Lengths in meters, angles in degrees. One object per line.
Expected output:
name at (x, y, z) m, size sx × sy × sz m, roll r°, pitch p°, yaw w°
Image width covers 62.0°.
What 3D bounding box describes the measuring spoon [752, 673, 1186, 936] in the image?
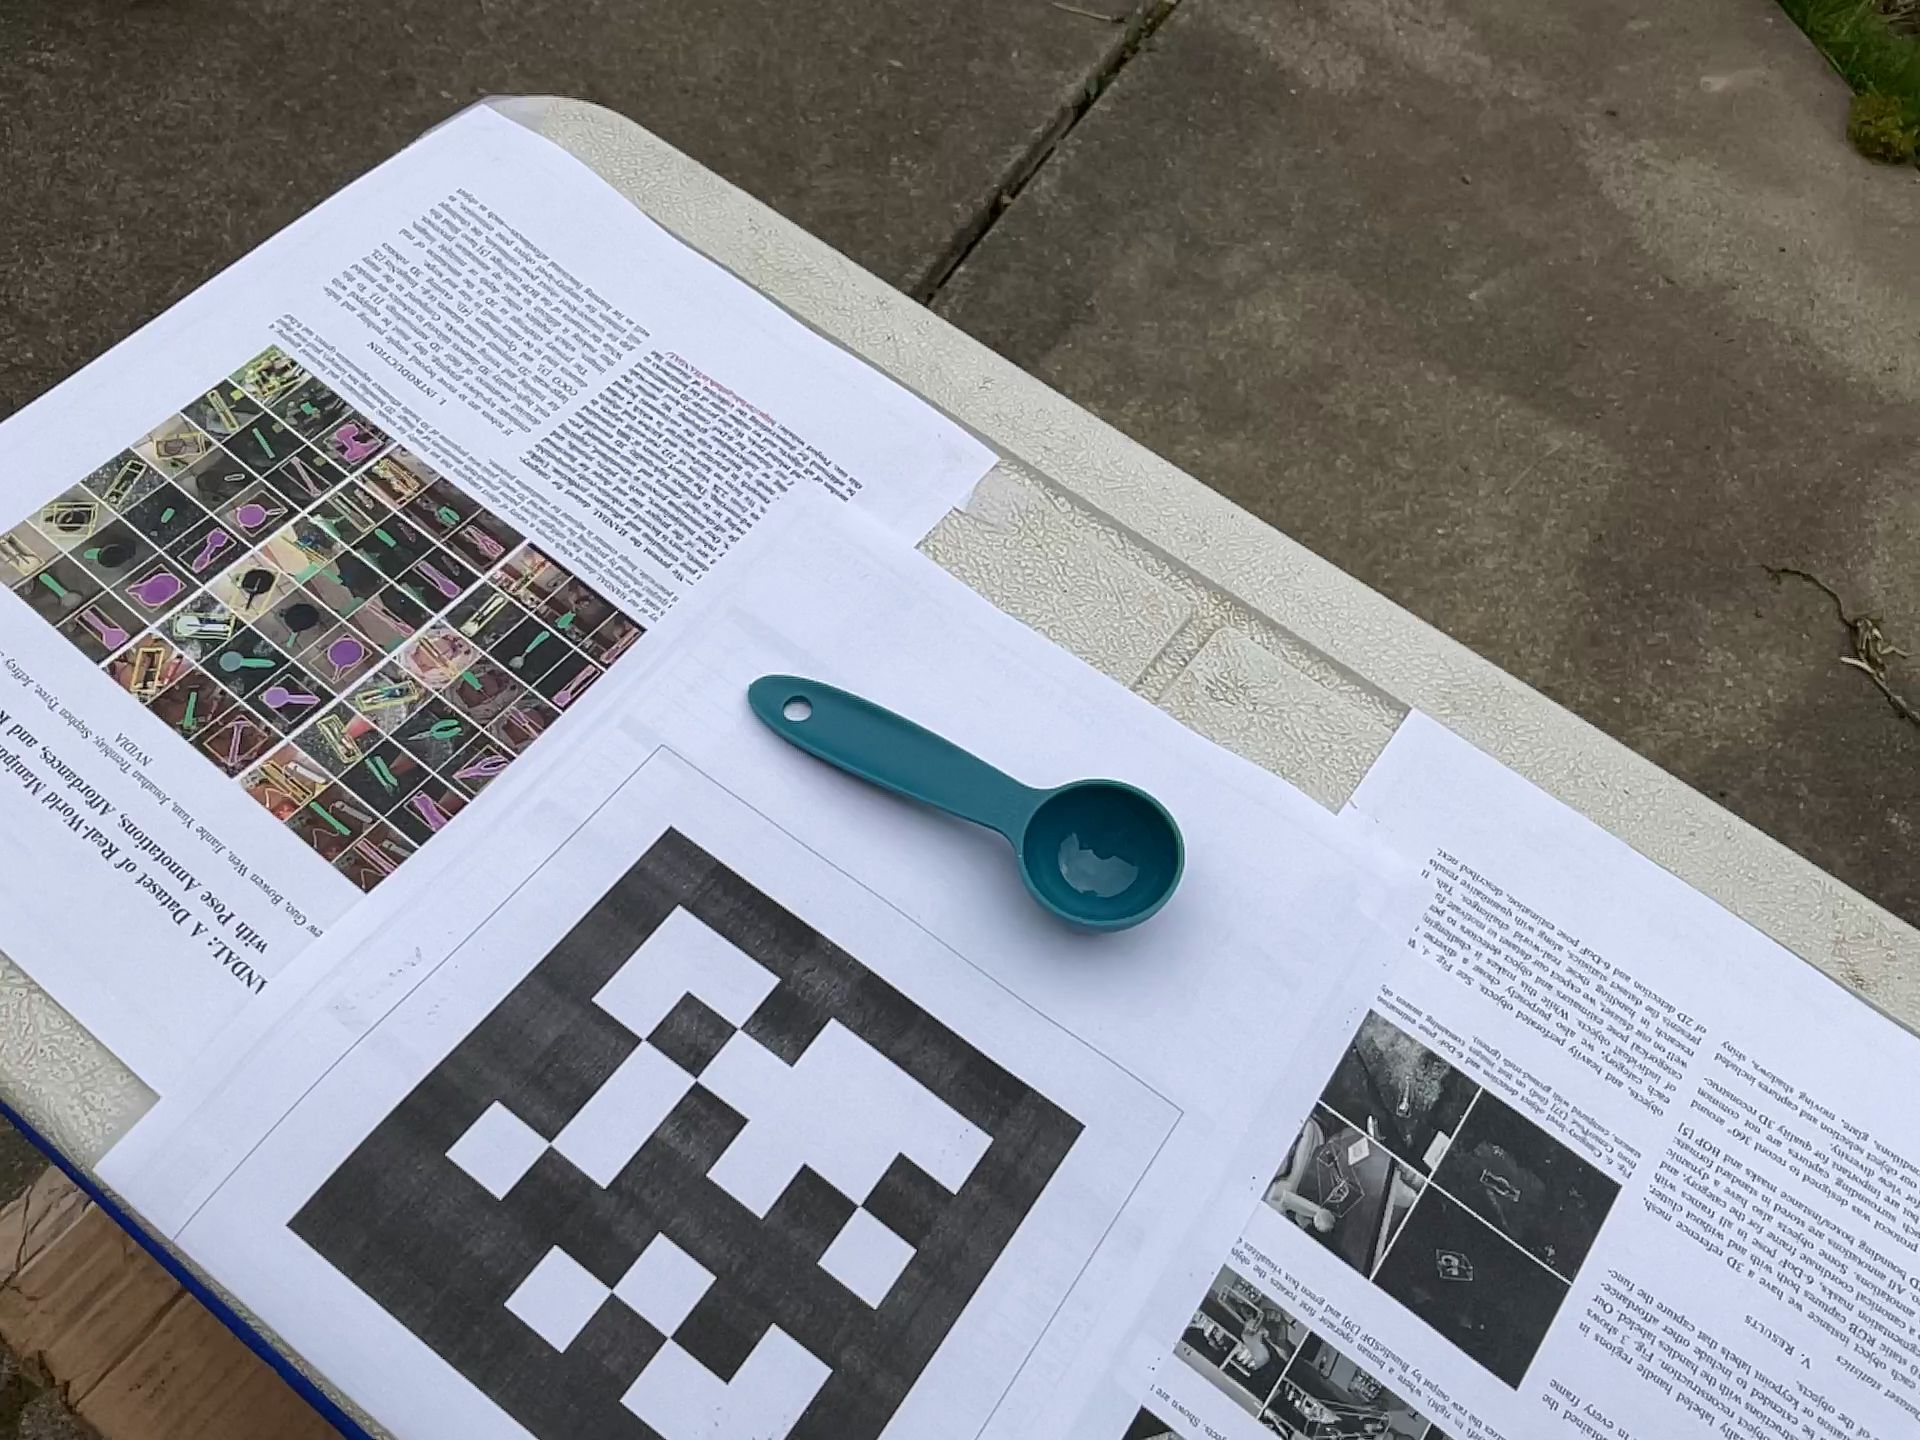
measuring spoon at (-0.001, 0.021, 0.425) m, size 0.129 × 0.021 × 0.042 m, roll 26°, pitch 60°, yaw 19°
